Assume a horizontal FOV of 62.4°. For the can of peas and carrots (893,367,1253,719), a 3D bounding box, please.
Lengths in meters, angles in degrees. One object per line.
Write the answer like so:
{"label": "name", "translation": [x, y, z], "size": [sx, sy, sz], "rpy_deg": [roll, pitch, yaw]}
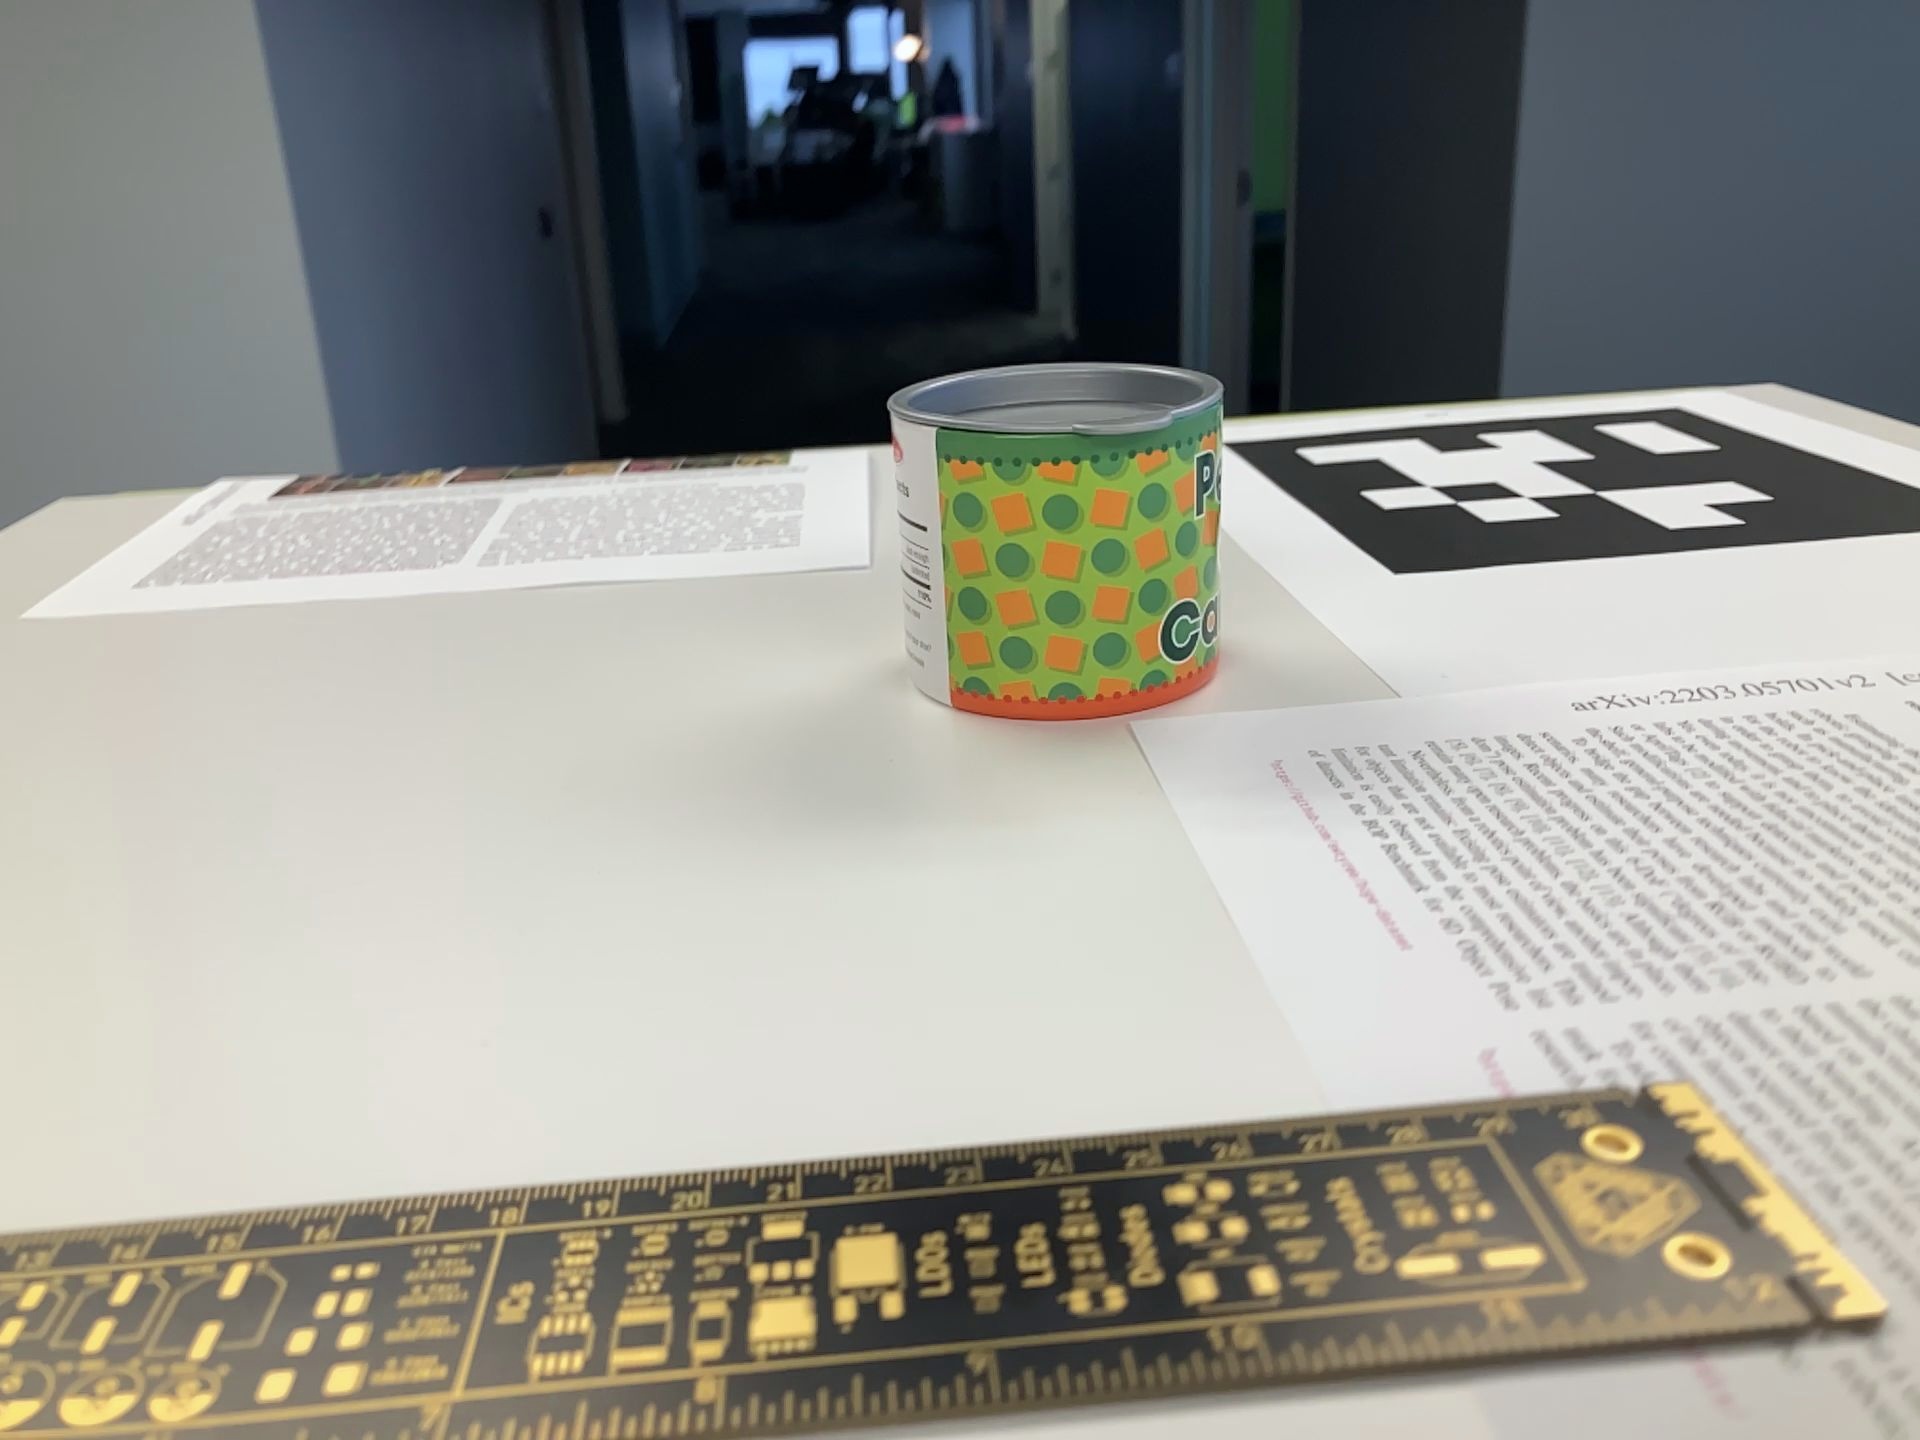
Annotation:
{"label": "can of peas and carrots", "translation": [0.023, -0.038, 0.325], "size": [0.071, 0.059, 0.071], "rpy_deg": [-3, 21, 1]}
